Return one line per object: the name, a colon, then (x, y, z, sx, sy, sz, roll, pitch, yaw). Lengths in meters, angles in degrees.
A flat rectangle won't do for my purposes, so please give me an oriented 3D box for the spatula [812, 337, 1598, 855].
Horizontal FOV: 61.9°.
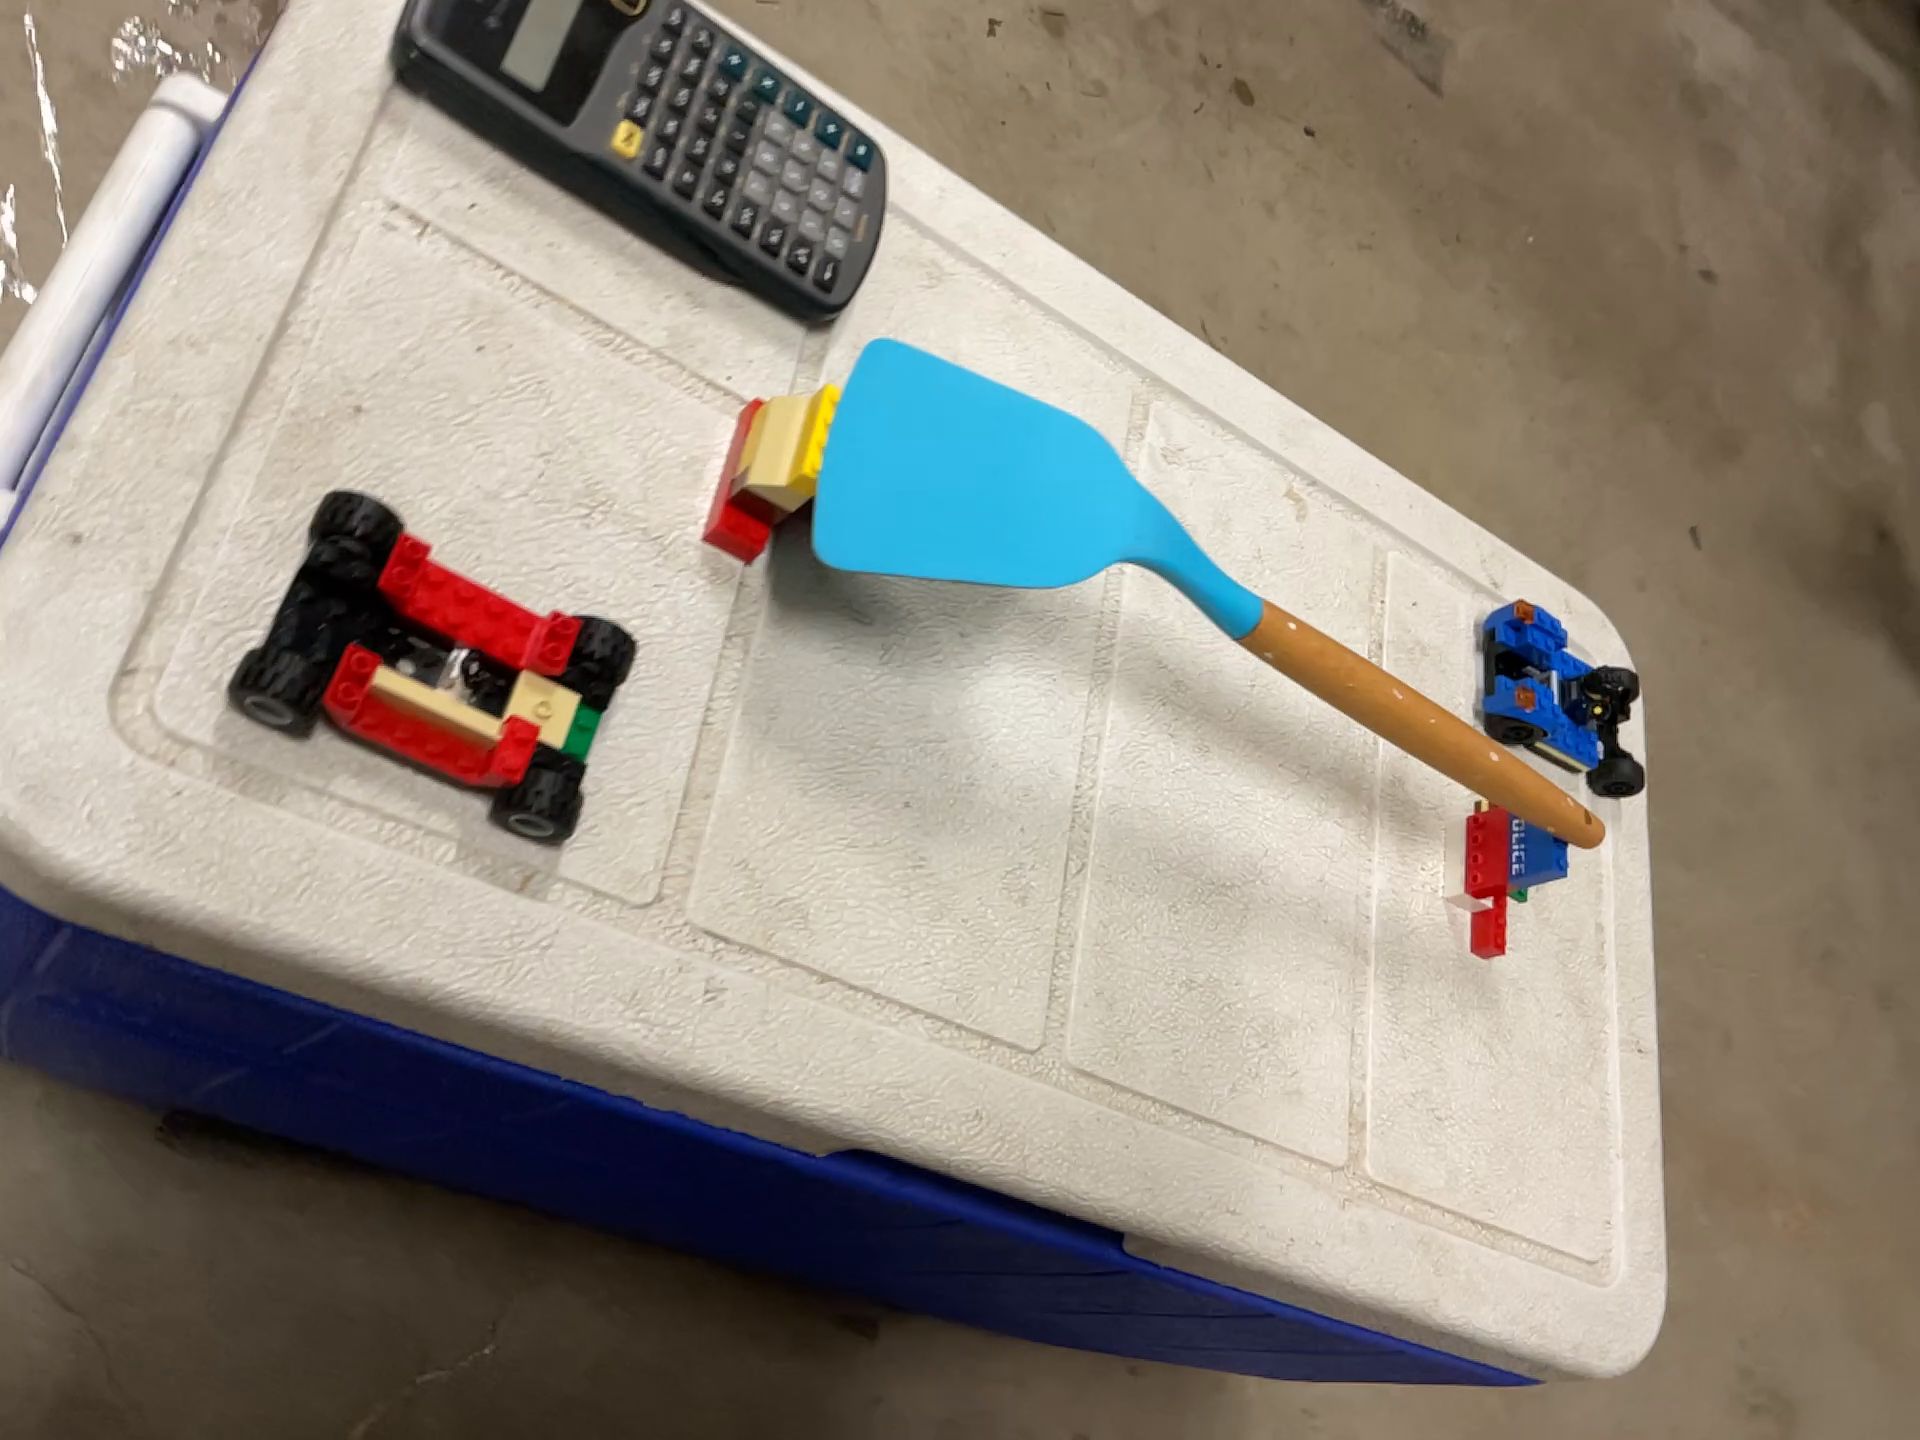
spatula: (0.098, -0.019, 0.505, 0.318, 0.044, 0.082, 28, 57, -30)
